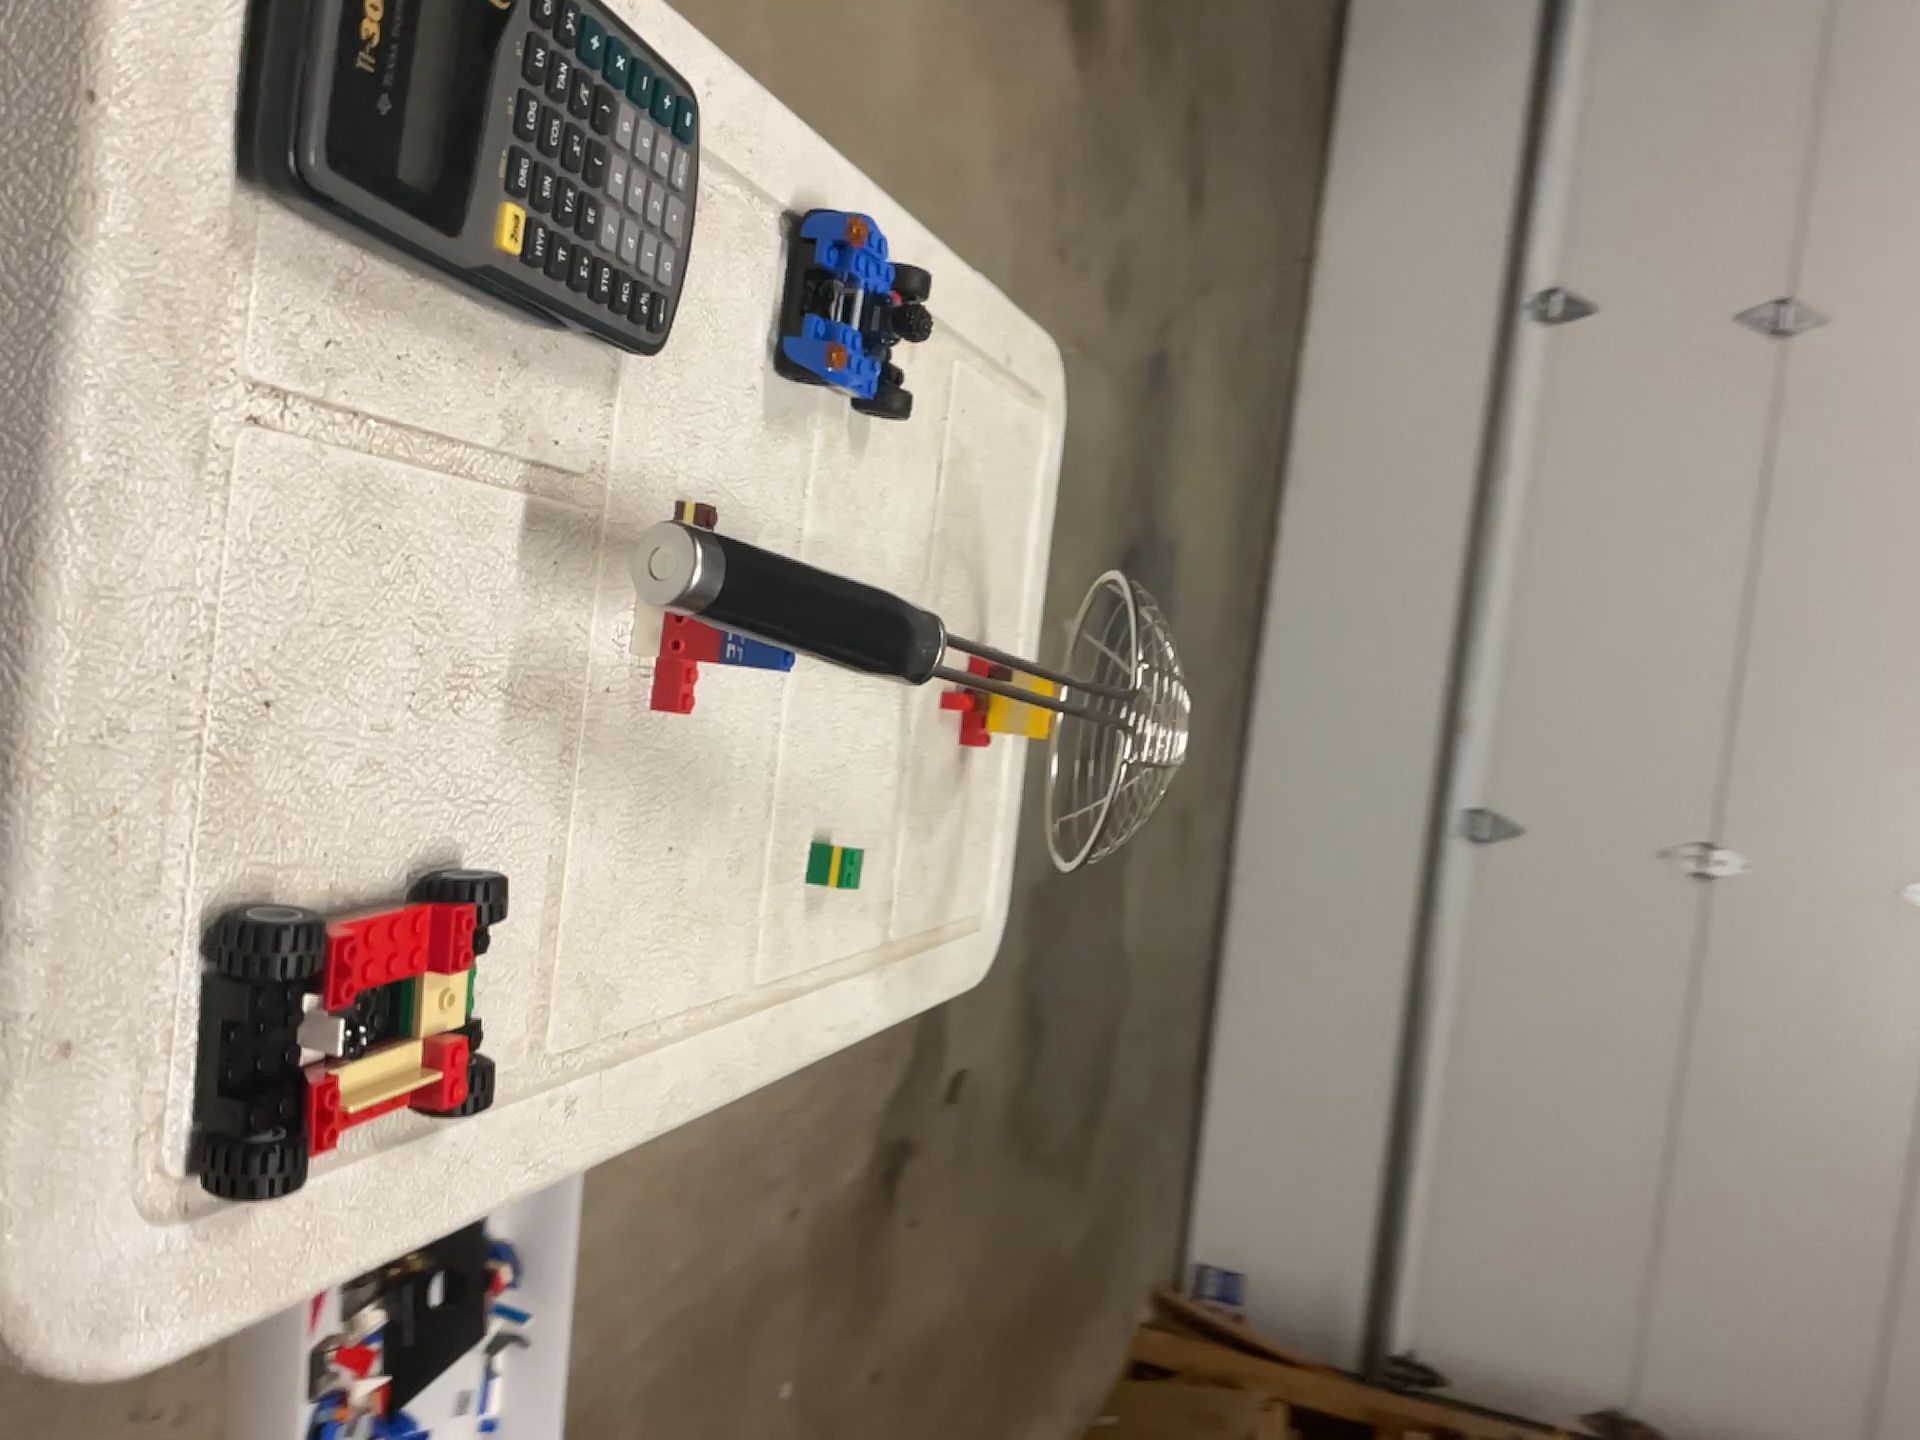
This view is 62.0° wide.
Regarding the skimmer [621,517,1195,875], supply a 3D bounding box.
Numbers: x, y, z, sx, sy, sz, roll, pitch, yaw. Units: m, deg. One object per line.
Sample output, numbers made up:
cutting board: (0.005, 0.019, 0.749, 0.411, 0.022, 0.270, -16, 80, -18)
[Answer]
skimmer: (-0.008, -0.016, 0.550, 0.363, 0.090, 0.127, 15, 83, -59)
